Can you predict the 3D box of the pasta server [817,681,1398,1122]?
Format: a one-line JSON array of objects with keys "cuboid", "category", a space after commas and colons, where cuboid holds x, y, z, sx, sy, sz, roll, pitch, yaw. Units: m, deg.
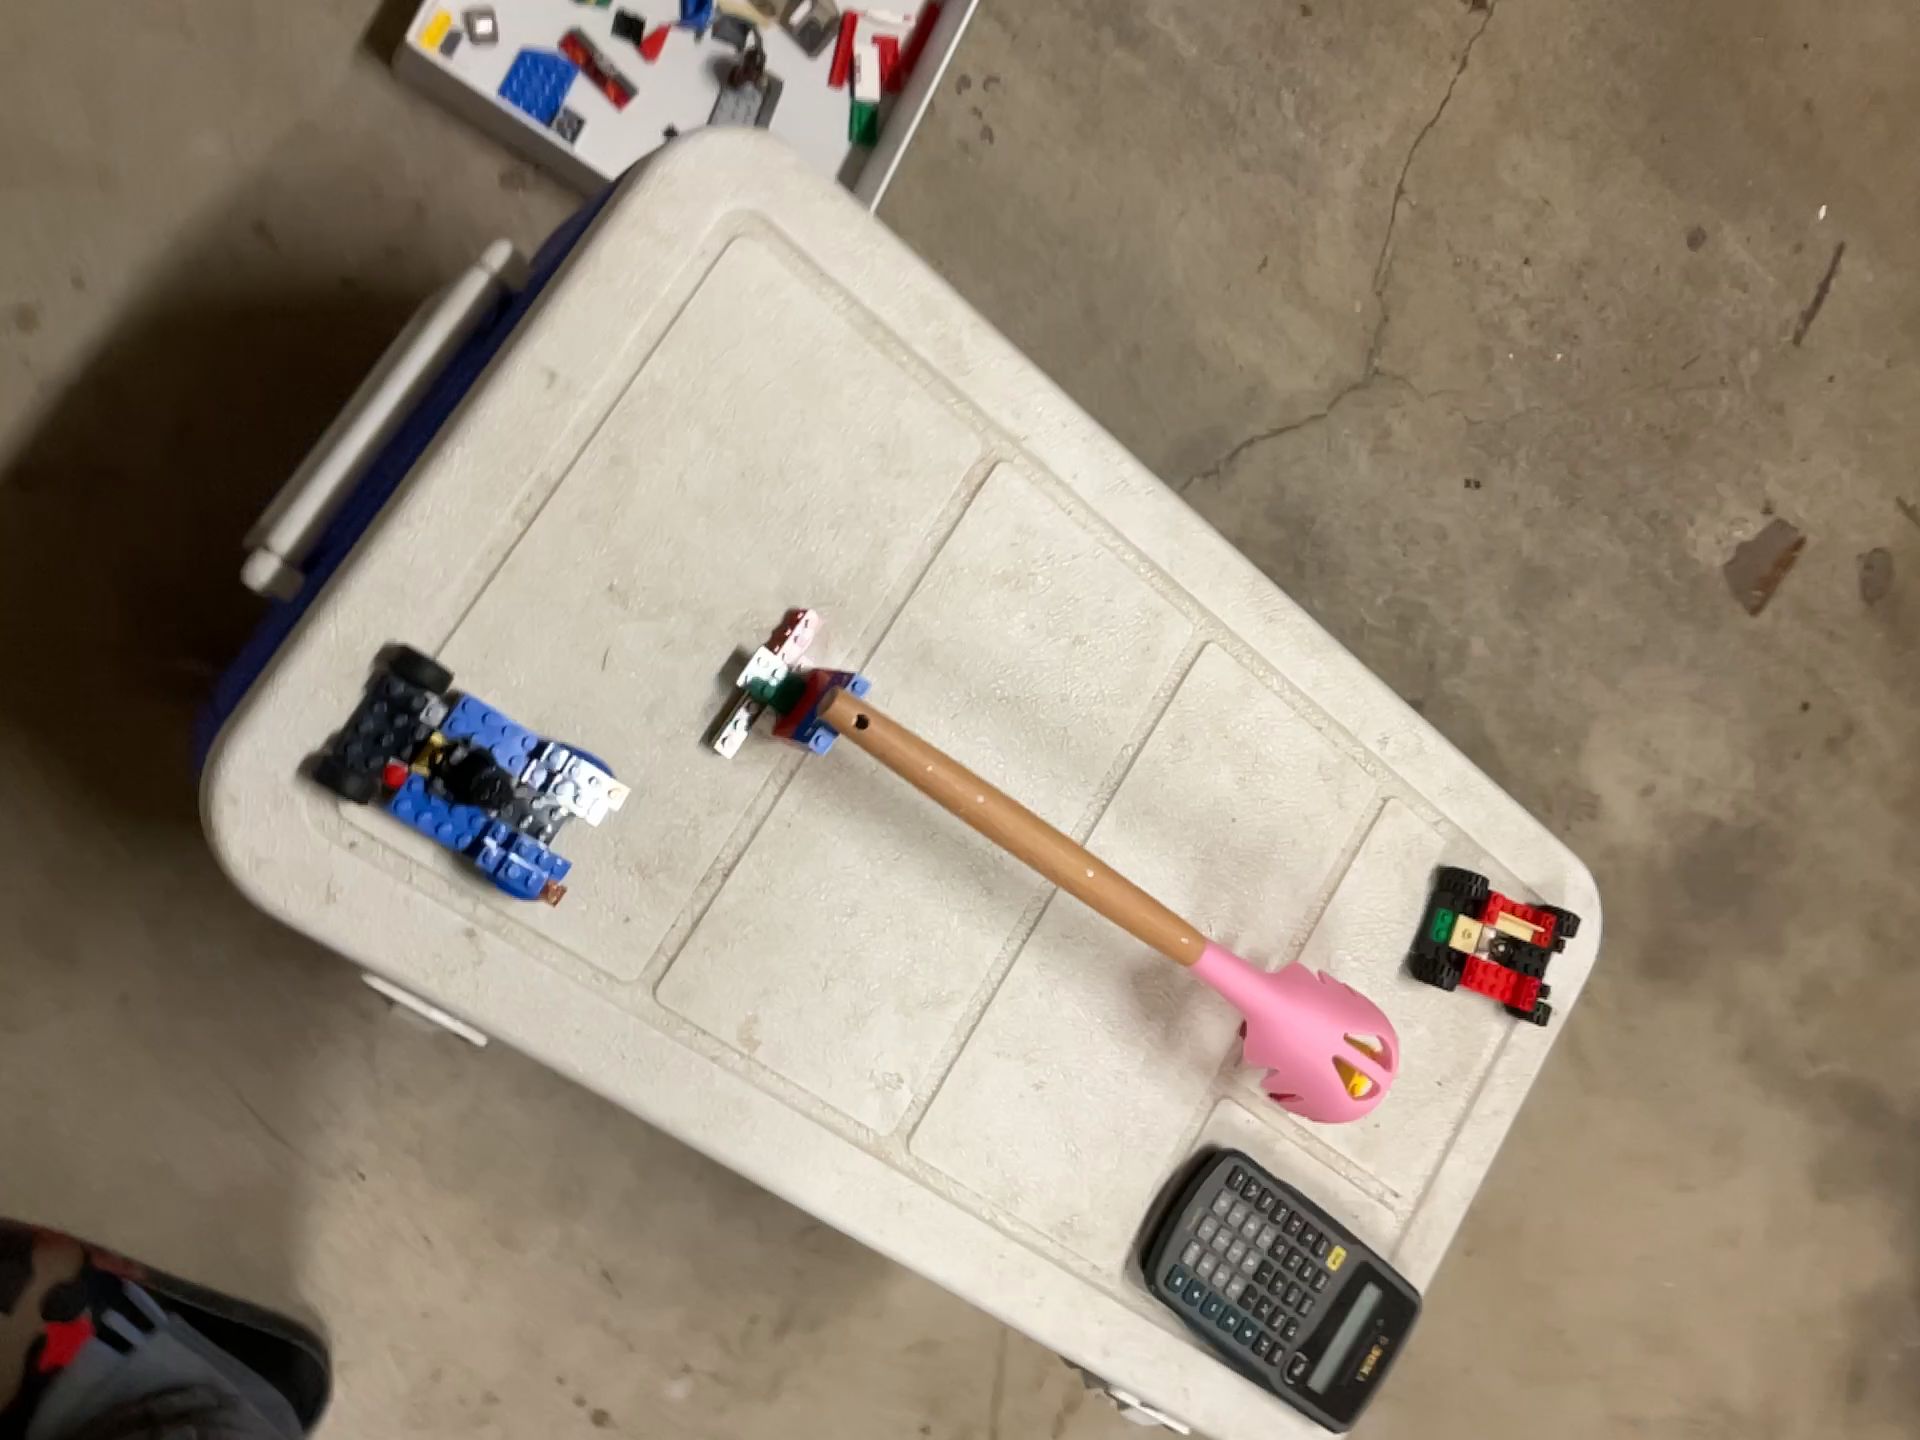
[{"cuboid": [0.069, 0.076, 0.629, 0.316, 0.040, 0.060, 36, 80, -22], "category": "pasta server"}]
